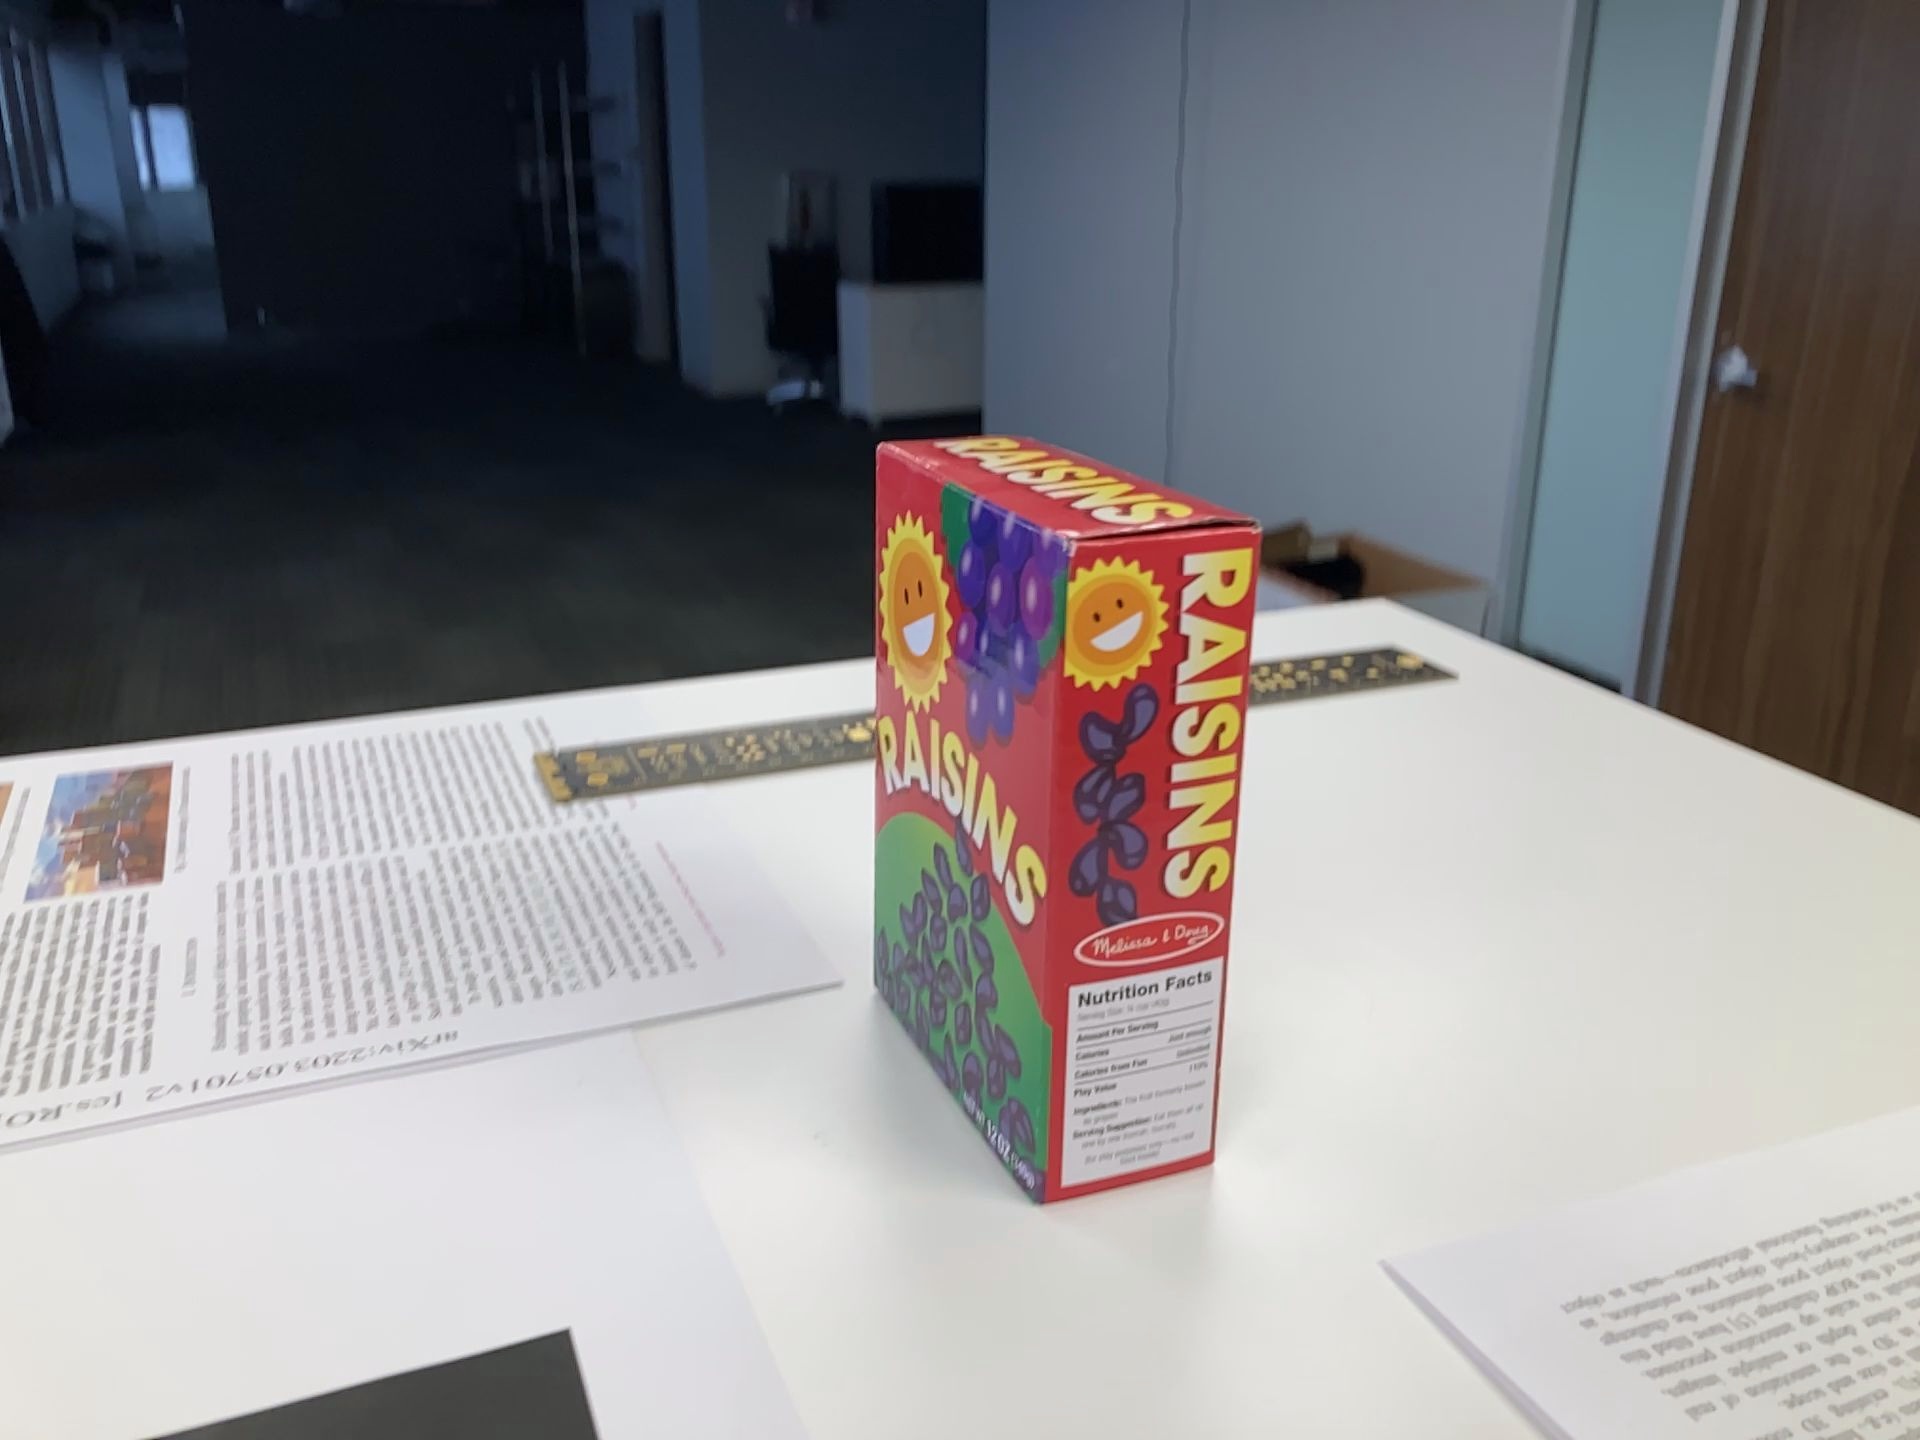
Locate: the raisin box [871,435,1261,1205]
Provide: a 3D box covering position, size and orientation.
[{"bbox_3d":[0.015,0.013,0.303,0.040,0.123,0.086,-7,21,-22],"label":"raisin box"}]
